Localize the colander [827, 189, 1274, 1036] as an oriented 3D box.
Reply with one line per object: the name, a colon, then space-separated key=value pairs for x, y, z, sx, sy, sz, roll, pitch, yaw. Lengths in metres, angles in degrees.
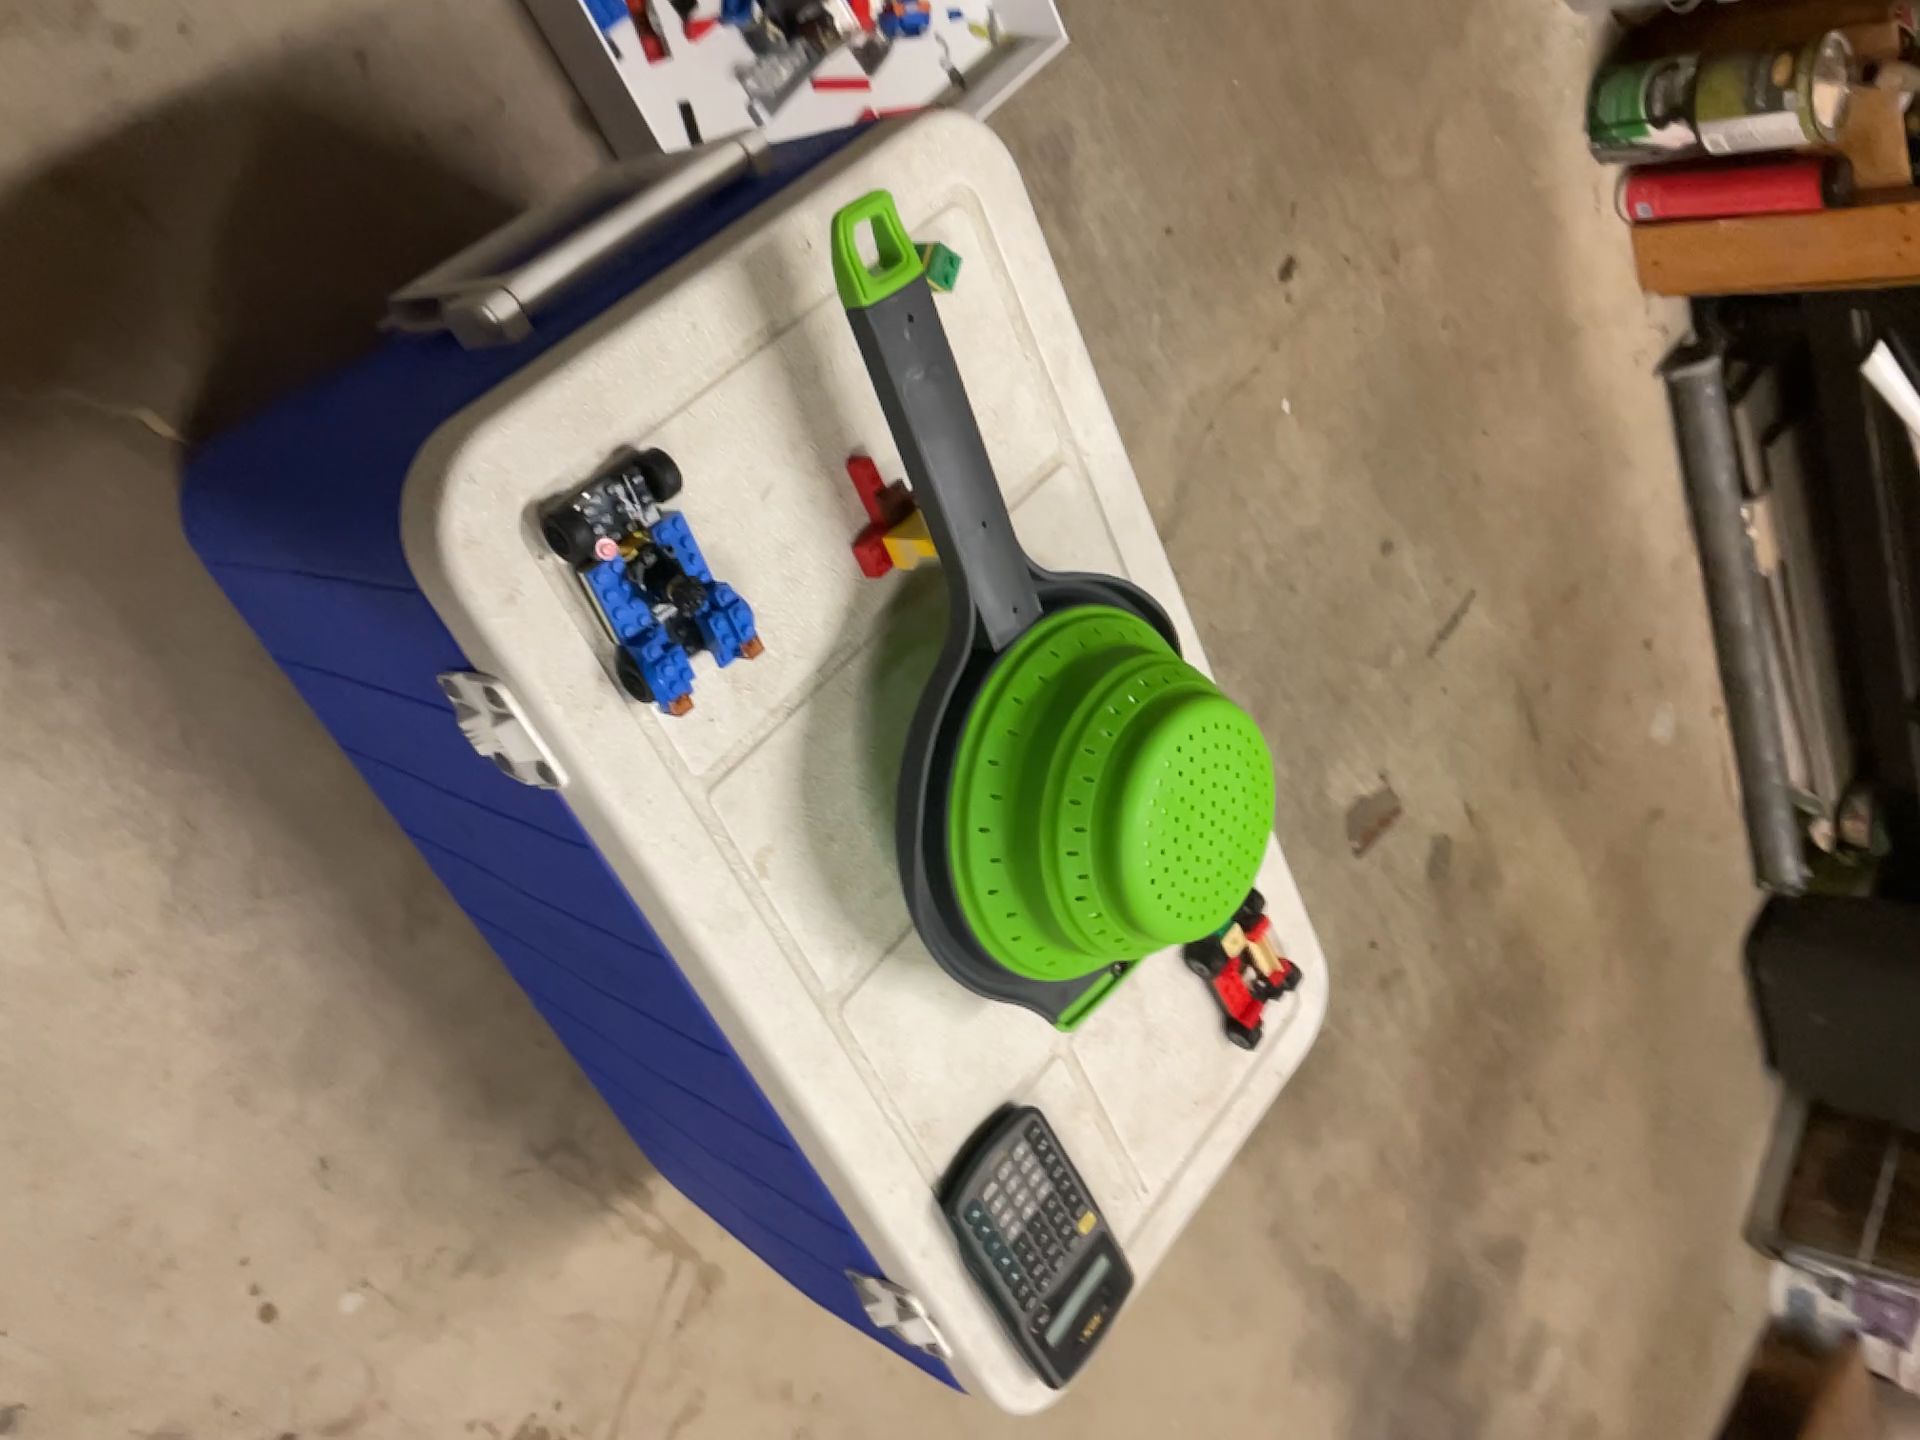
colander: x=0.047 y=-0.030 z=0.673 sx=0.205 sy=0.094 sz=0.396 roll=-41 pitch=123 yaw=-33
